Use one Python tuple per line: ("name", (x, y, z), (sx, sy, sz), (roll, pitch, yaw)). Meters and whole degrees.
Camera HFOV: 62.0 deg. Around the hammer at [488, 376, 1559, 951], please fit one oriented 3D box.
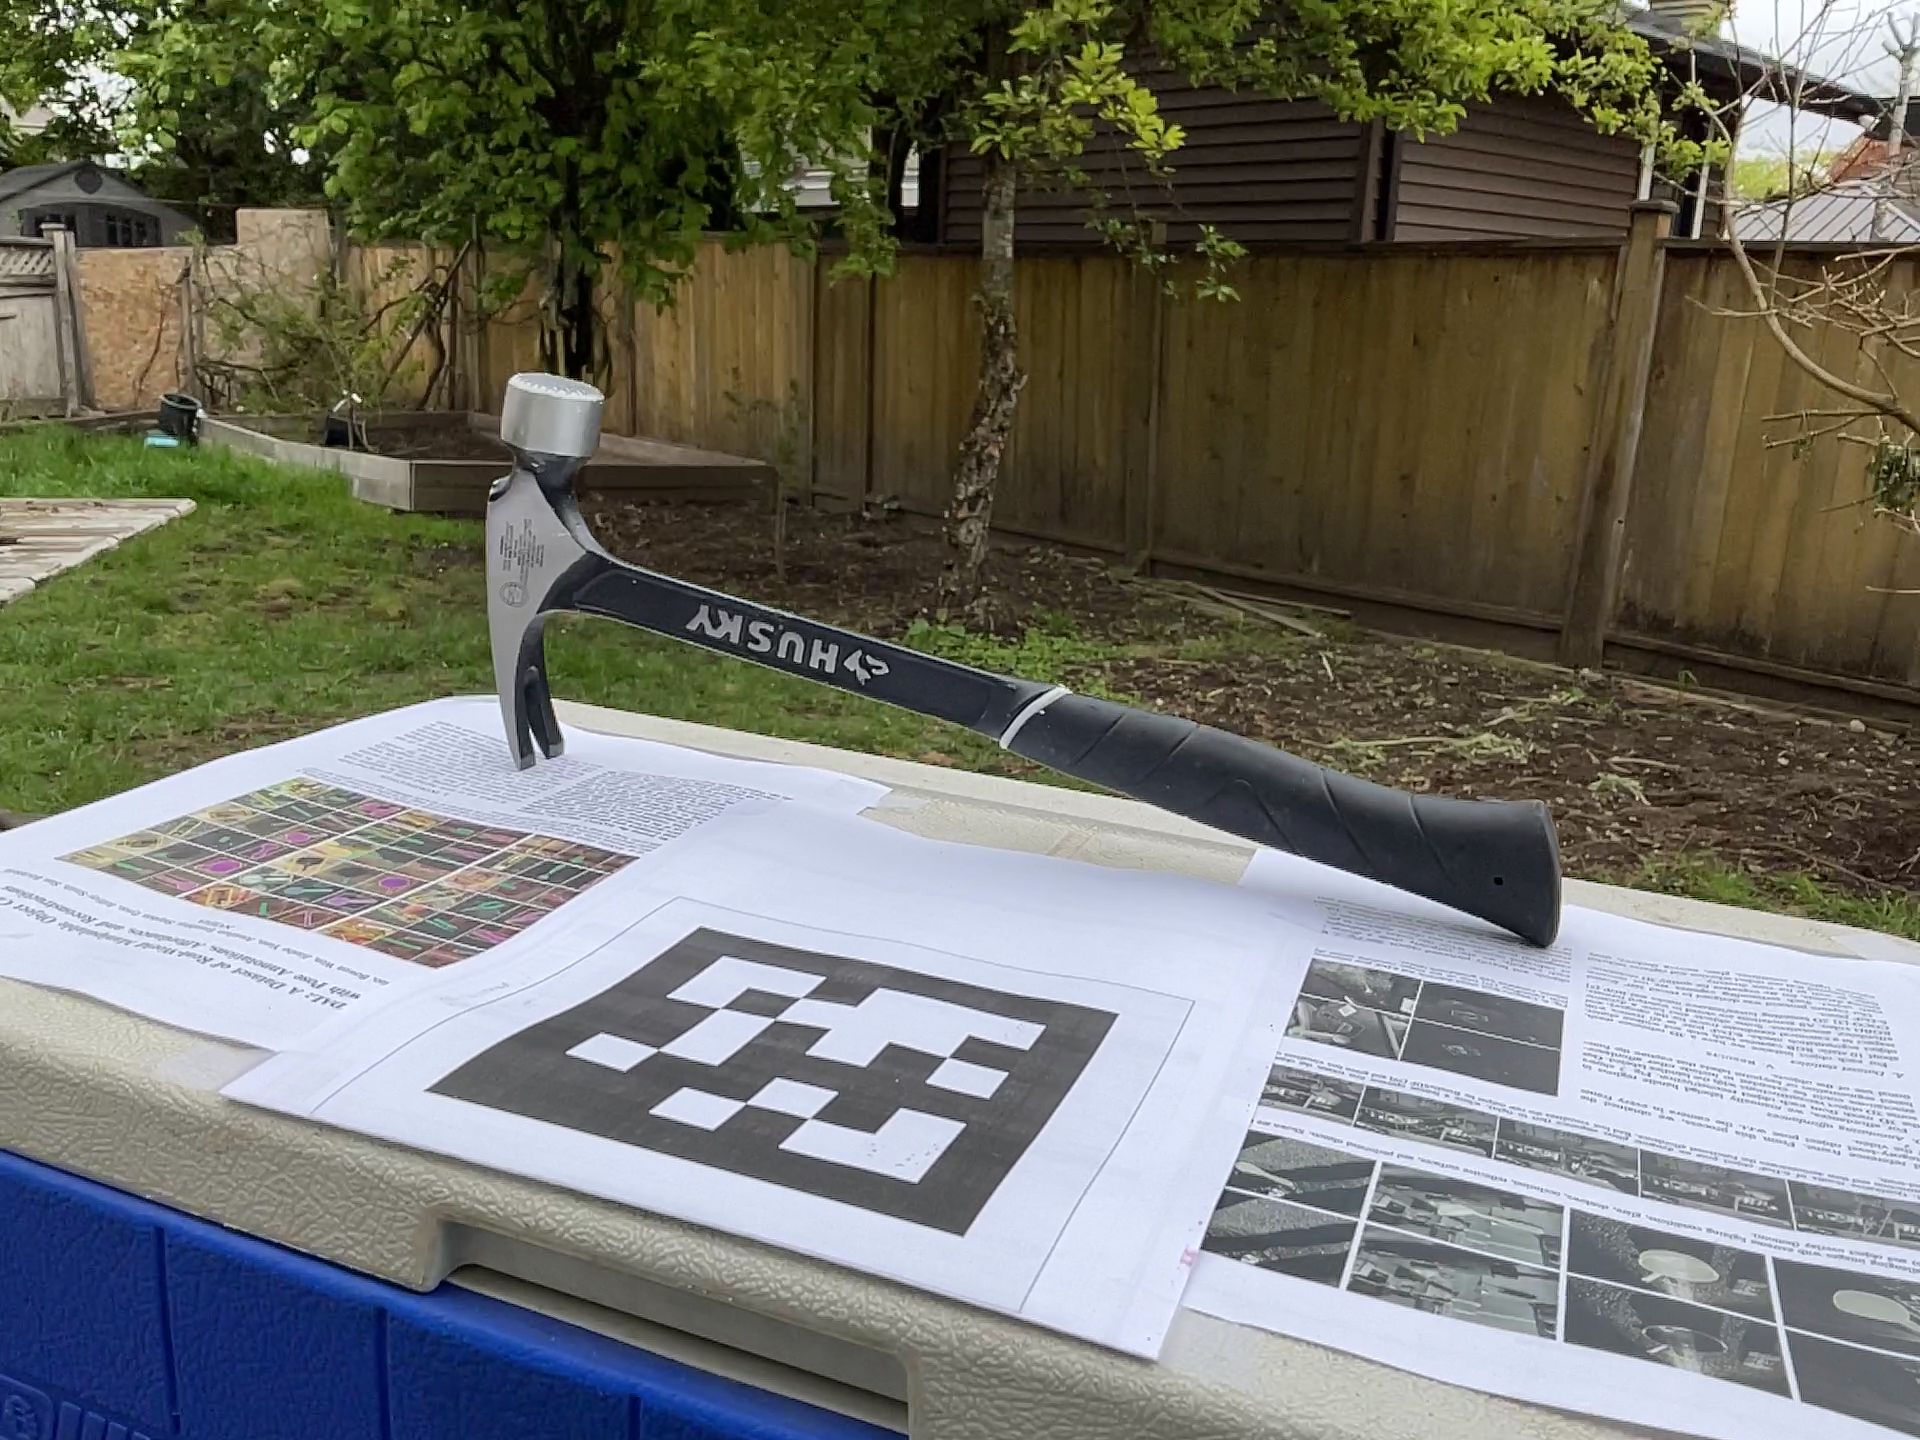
("hammer", (0.006, 0.000, 0.567), (0.409, 0.149, 0.036), (18, 18, 15))
